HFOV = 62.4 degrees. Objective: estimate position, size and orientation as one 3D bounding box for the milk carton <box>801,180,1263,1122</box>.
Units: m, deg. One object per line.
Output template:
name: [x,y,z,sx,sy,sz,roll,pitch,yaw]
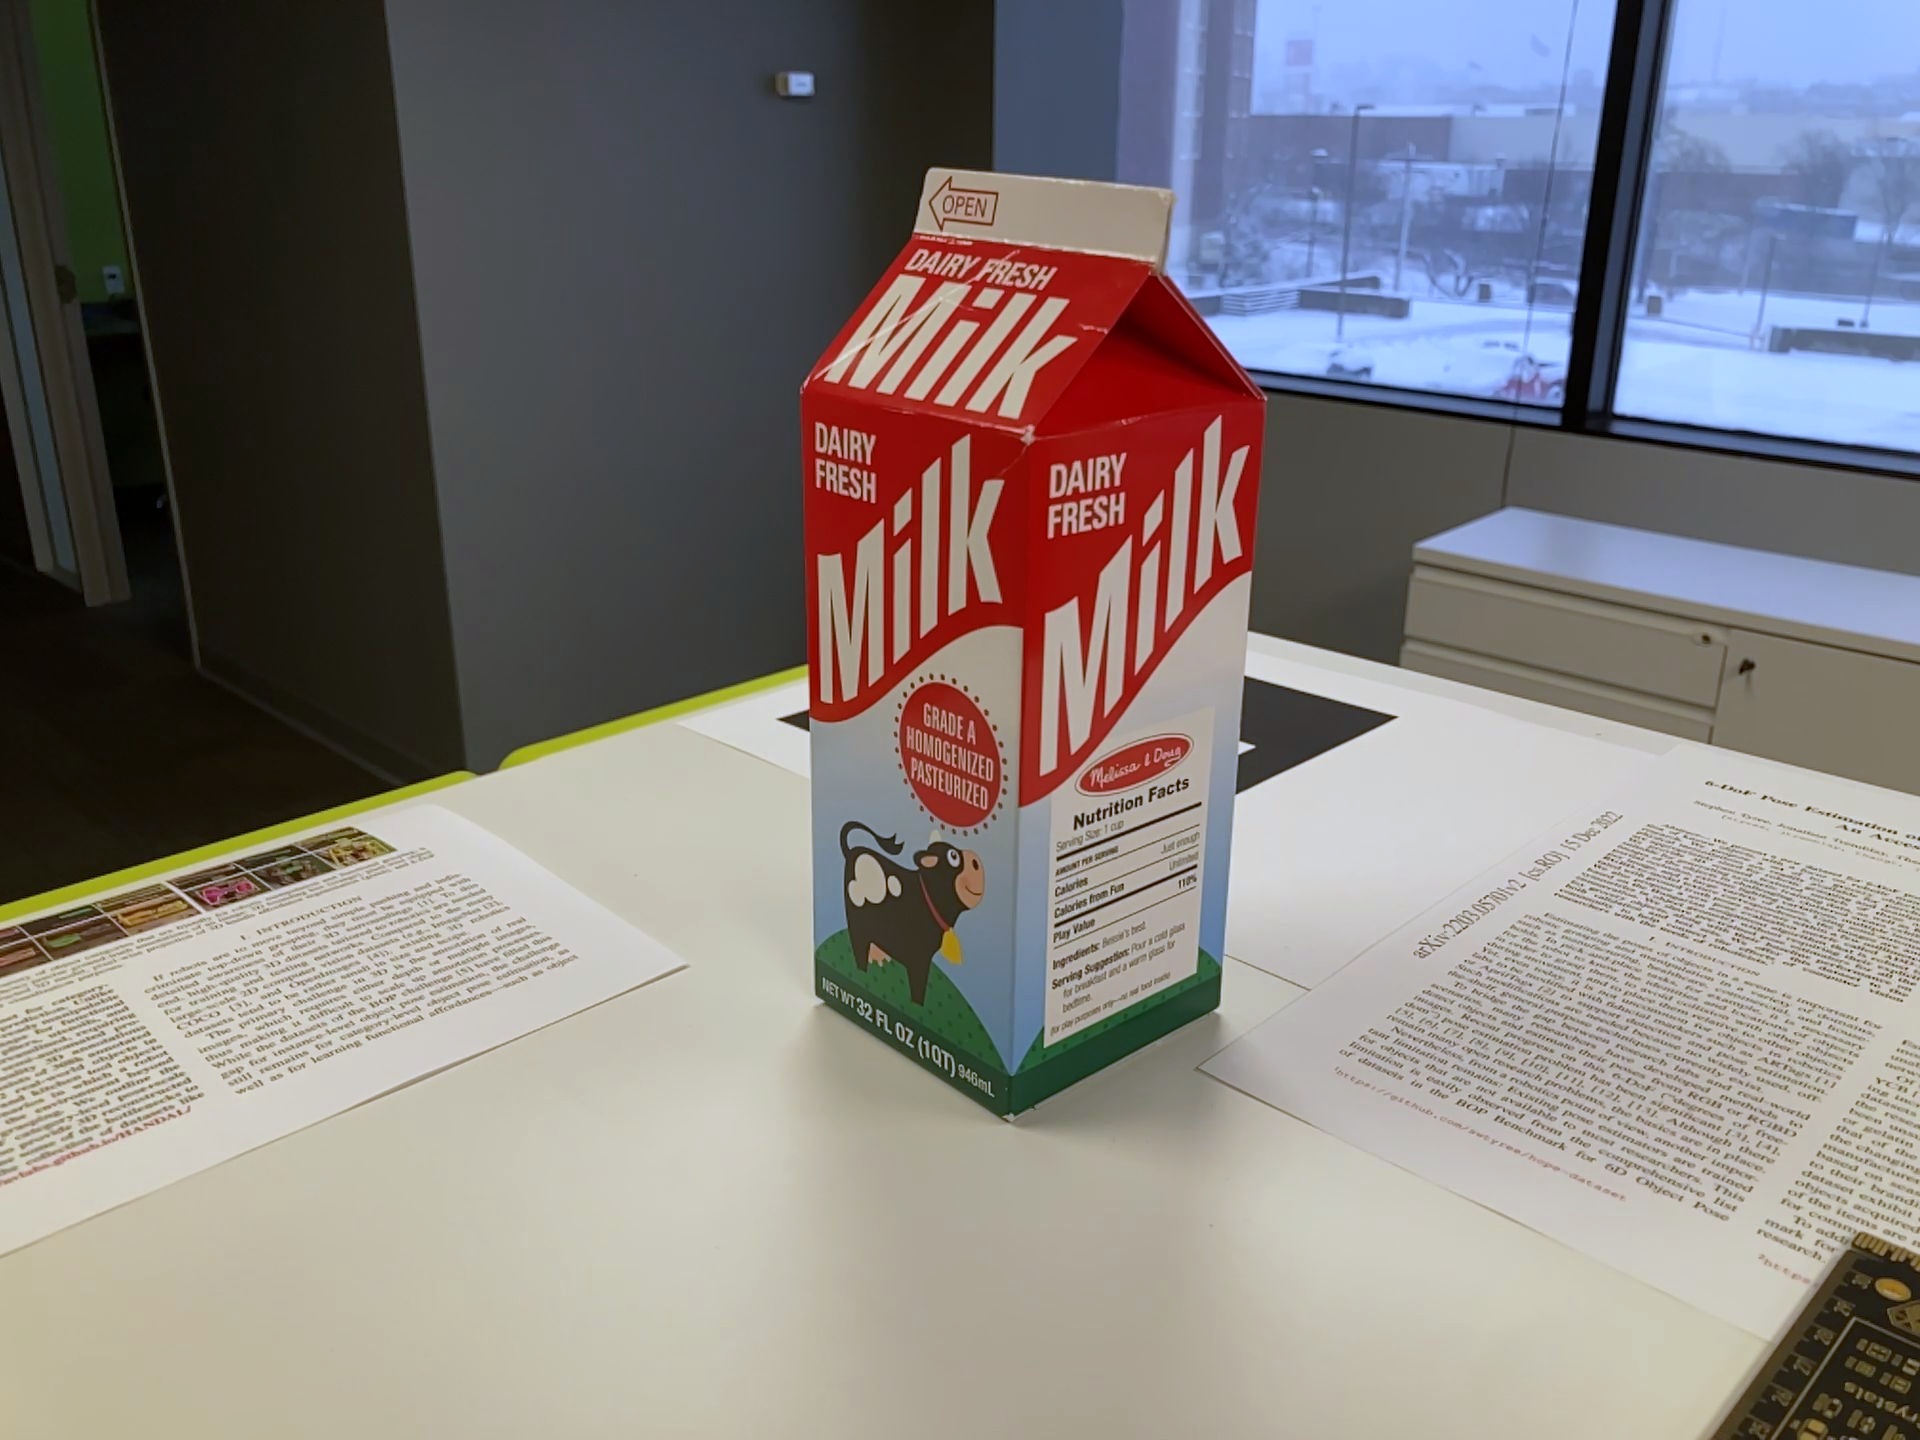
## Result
milk carton: [0.014,-0.019,0.354,0.073,0.190,0.072,-16,26,-39]
